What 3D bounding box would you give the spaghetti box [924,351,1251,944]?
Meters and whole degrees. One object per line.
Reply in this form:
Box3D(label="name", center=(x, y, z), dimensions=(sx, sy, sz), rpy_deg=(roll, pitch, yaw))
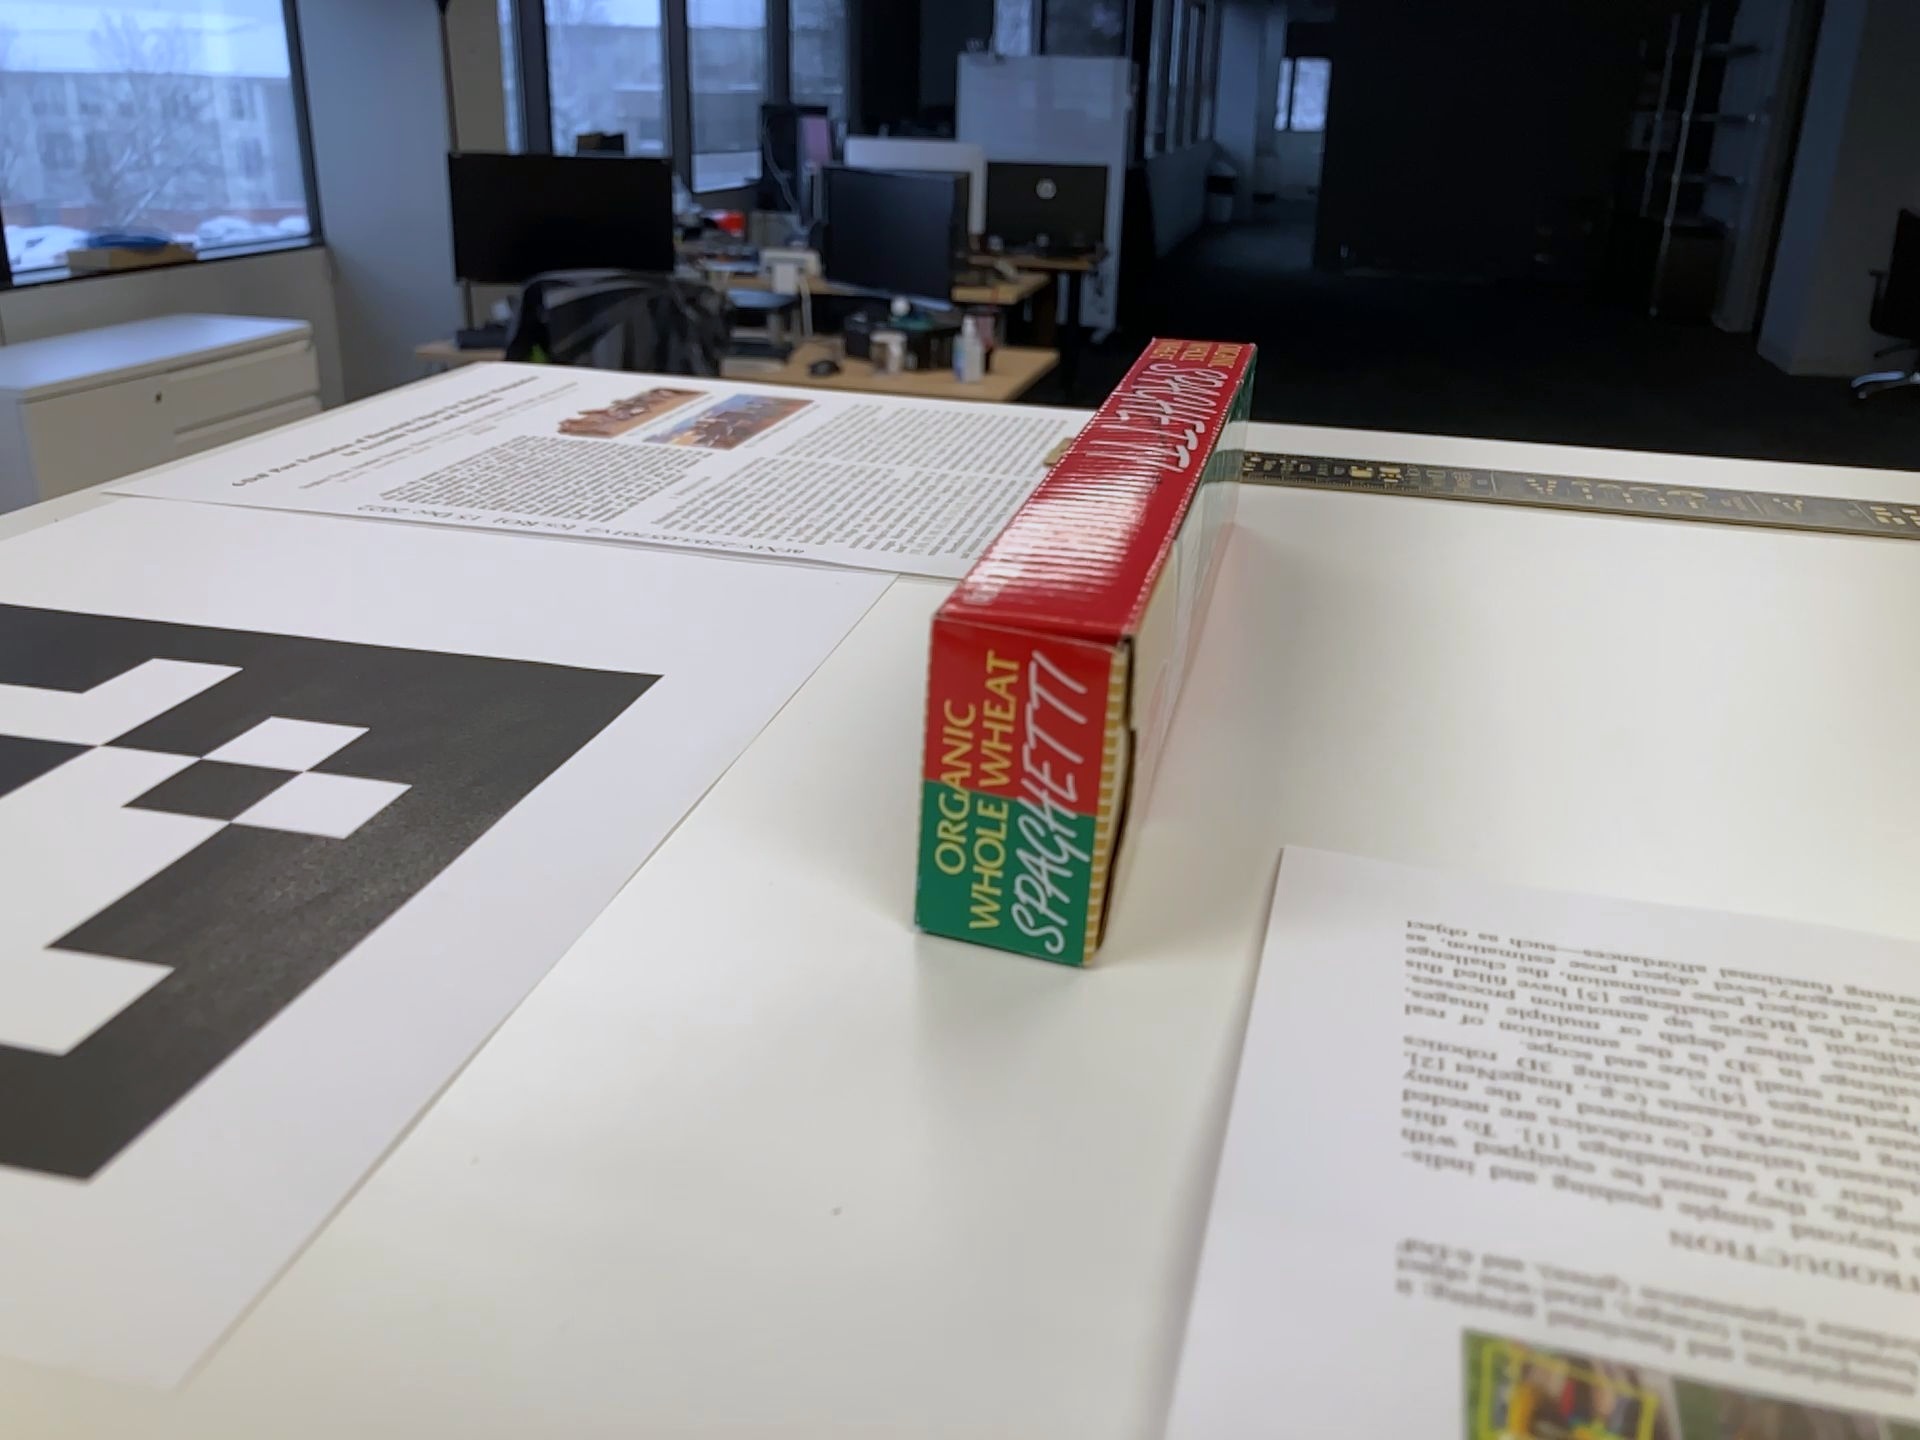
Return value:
Box3D(label="spaghetti box", center=(0.036, -0.035, 0.330), dimensions=(0.028, 0.050, 0.250), rpy_deg=(8, 22, 11))
